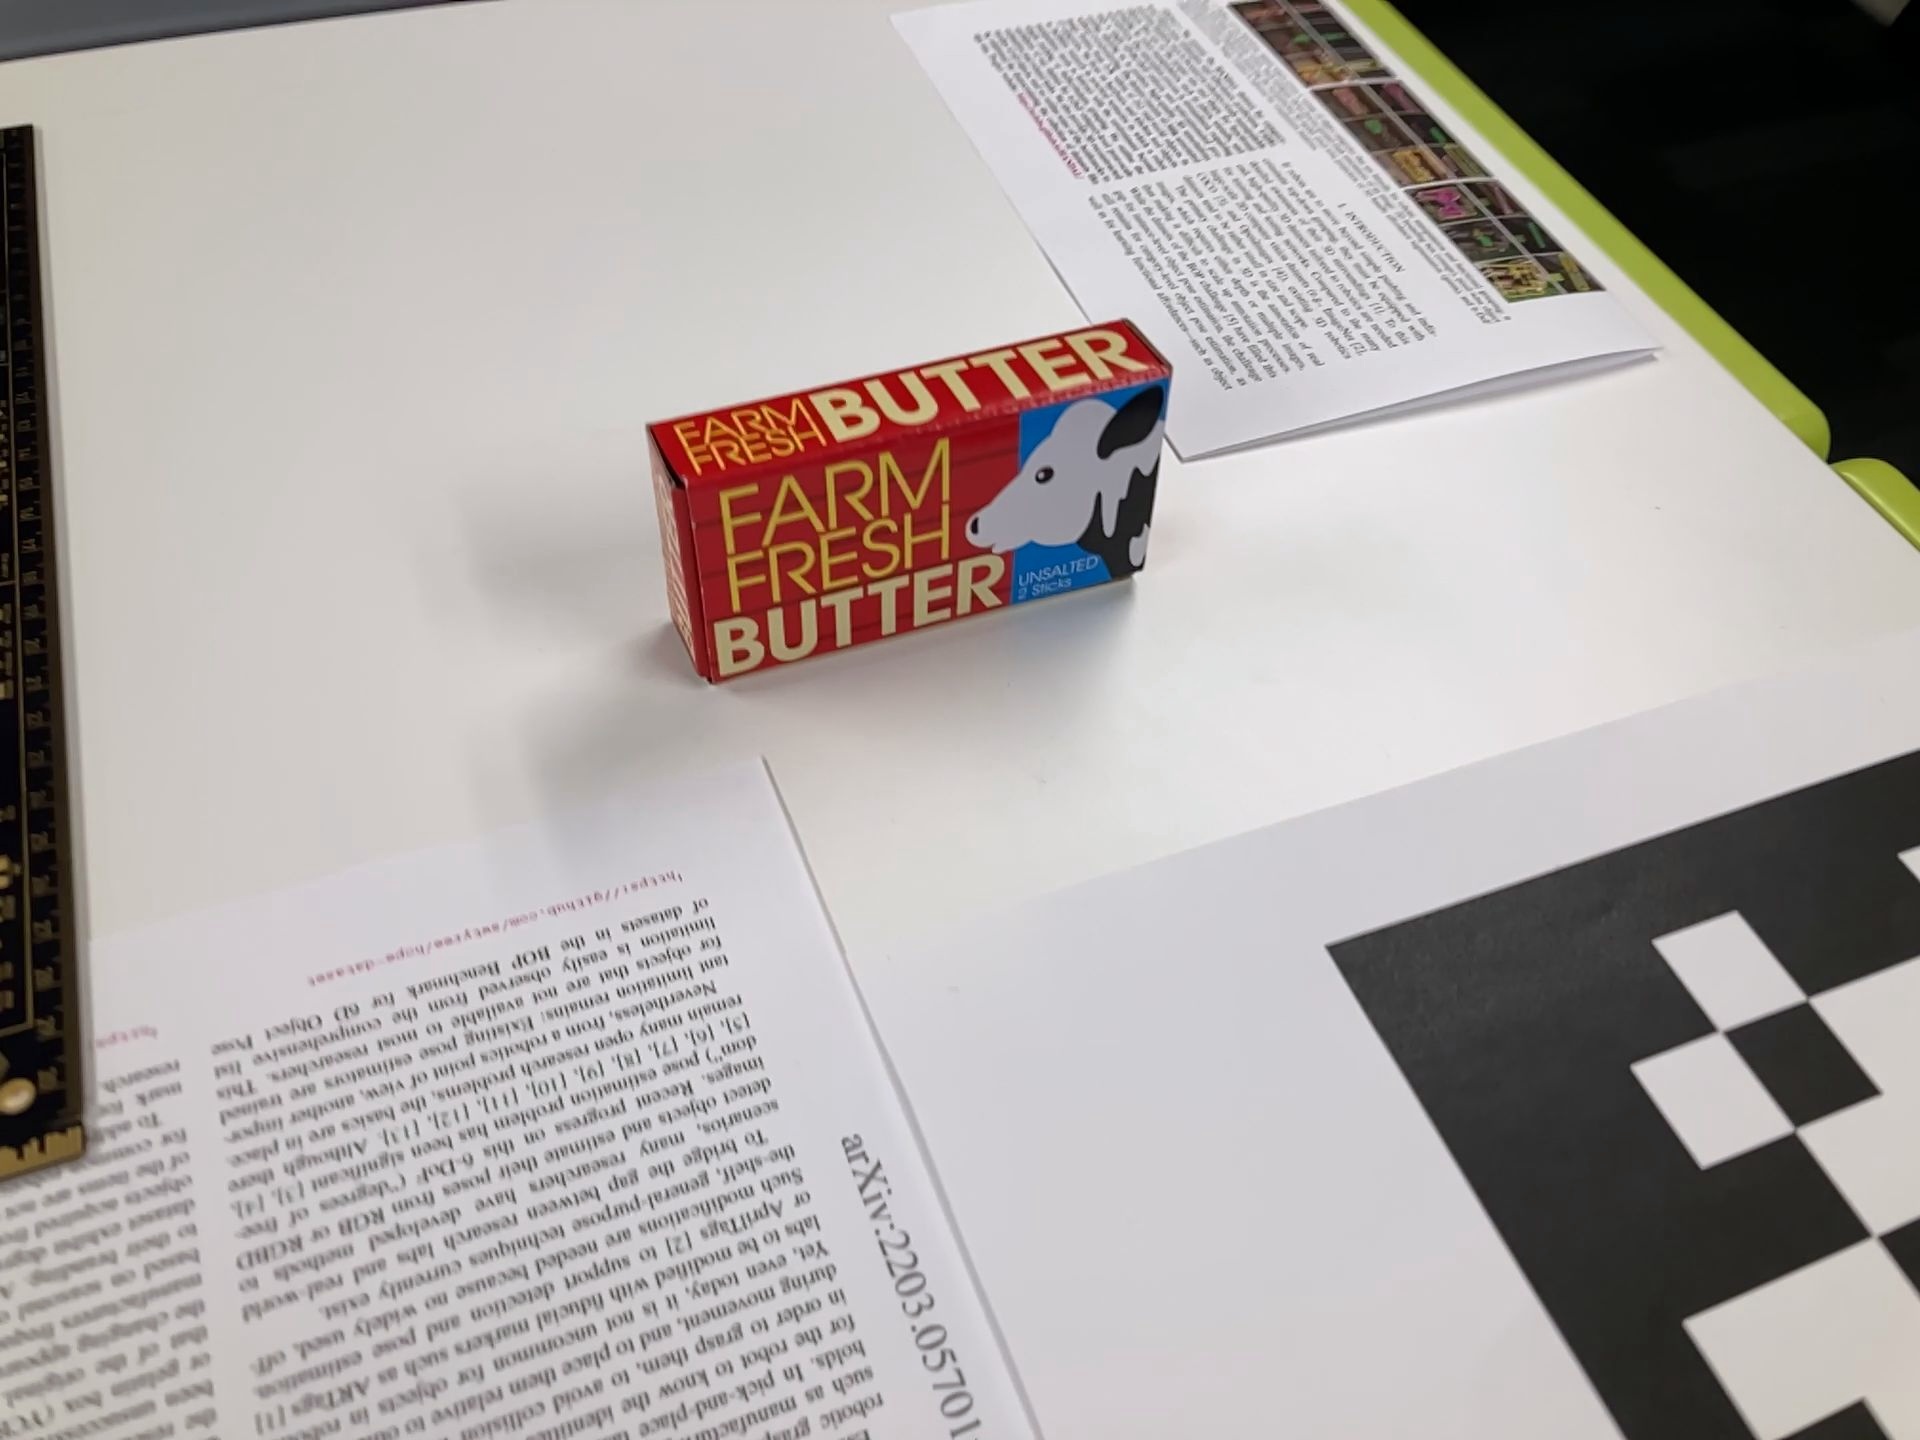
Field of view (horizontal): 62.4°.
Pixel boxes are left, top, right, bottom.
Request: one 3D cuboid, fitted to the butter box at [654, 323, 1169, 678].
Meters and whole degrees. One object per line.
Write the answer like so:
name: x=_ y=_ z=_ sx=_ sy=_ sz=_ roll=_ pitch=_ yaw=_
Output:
butter box: x=-0.009 y=-0.046 z=0.331 sx=0.103 sy=0.053 sz=0.024 roll=-15 pitch=49 yaw=-16
